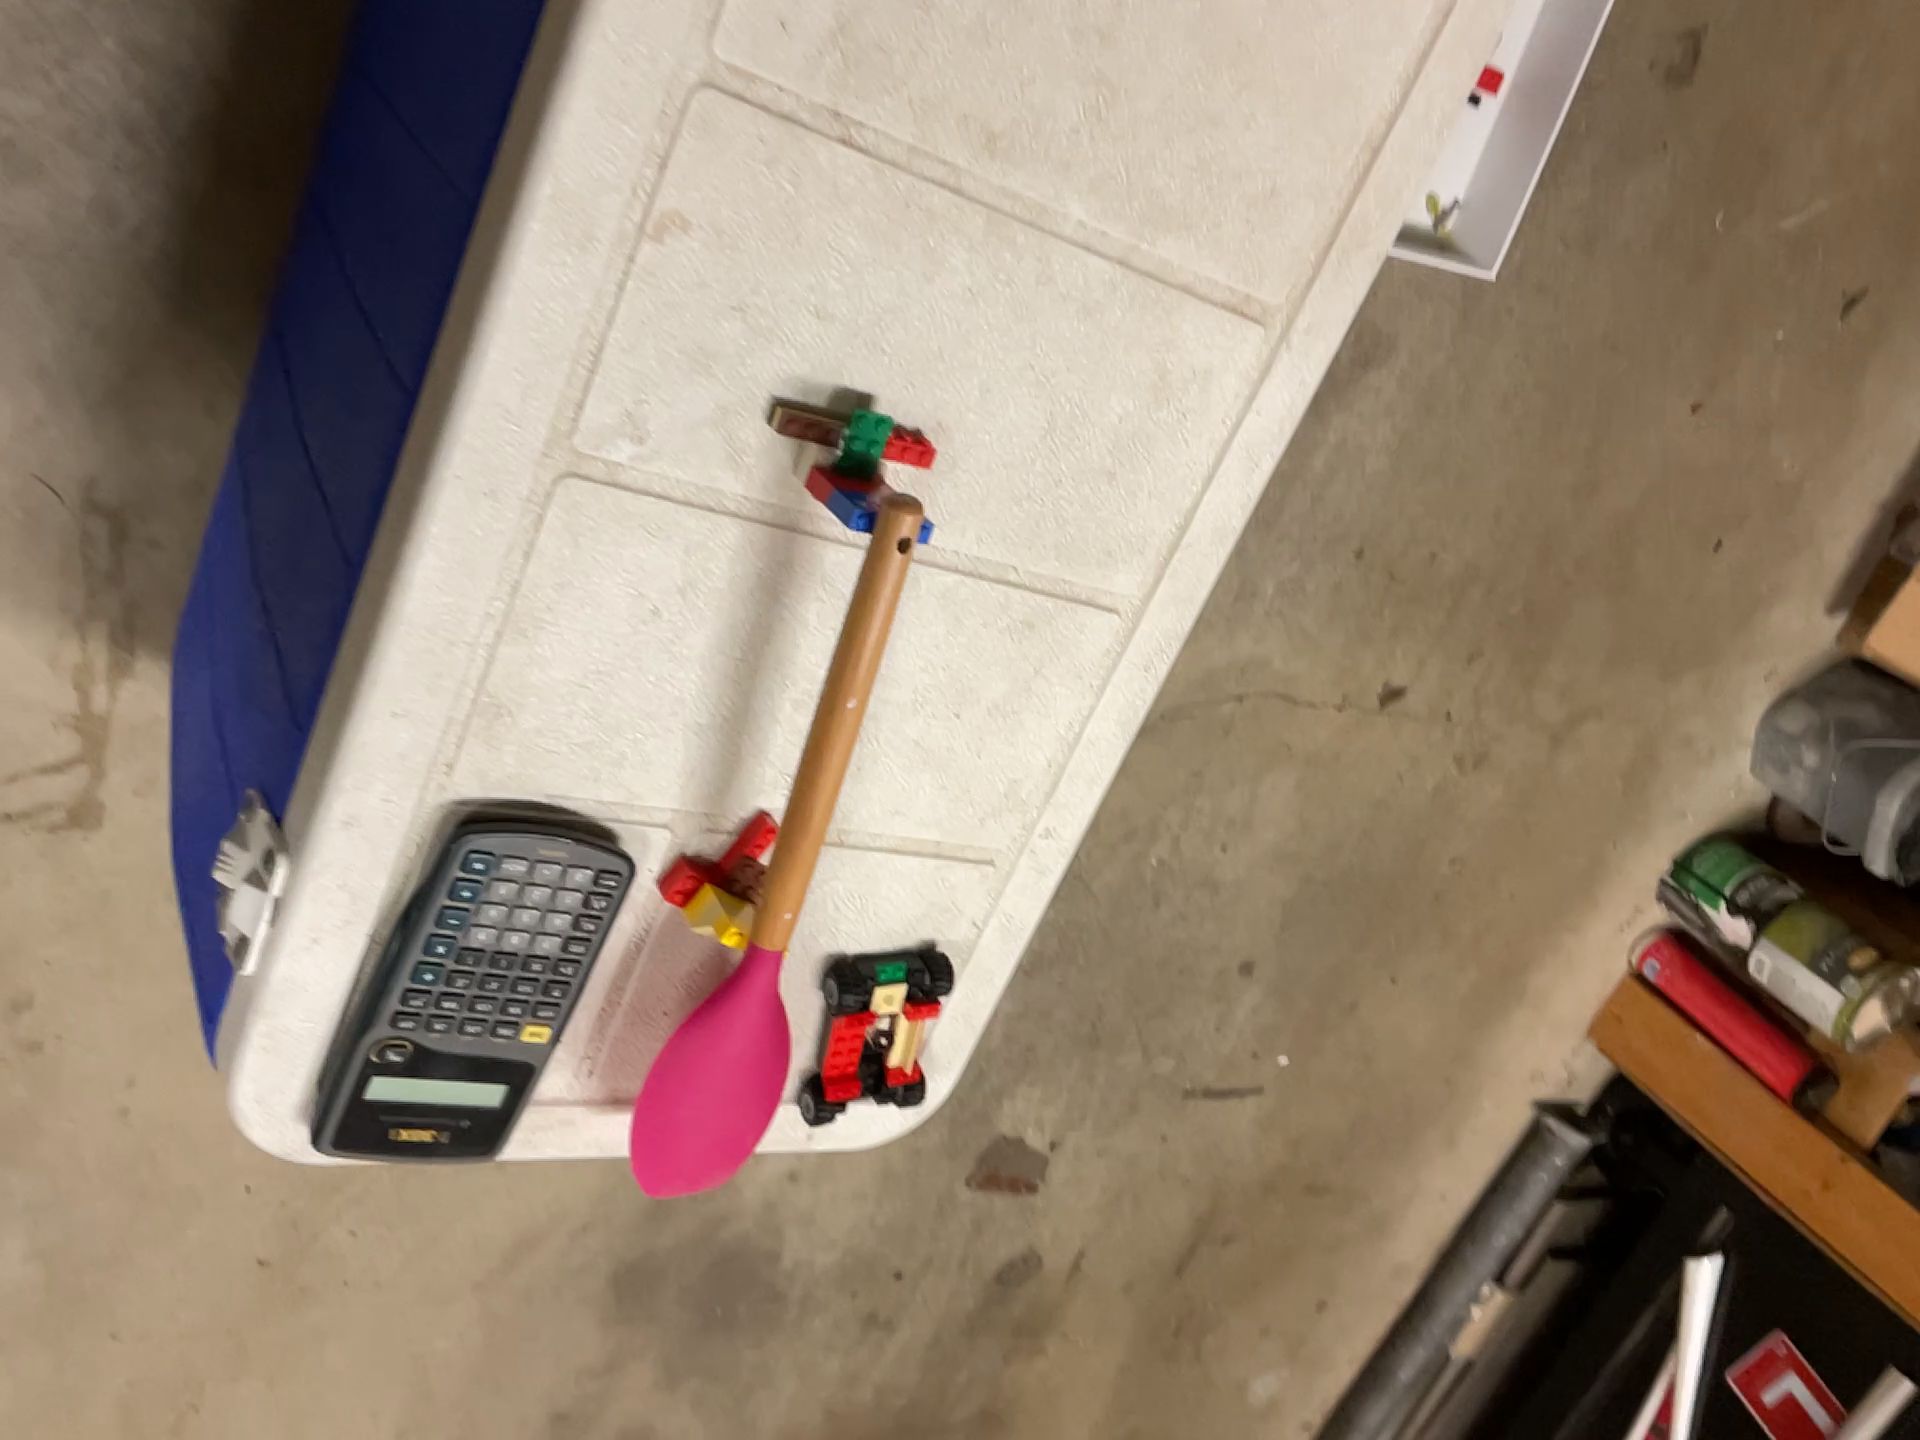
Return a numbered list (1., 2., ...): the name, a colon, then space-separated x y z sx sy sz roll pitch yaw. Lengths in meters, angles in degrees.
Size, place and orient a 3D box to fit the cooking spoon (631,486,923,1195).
1. cooking spoon: -0.065 0.061 0.595 0.069 0.017 0.318 -2 123 -37
